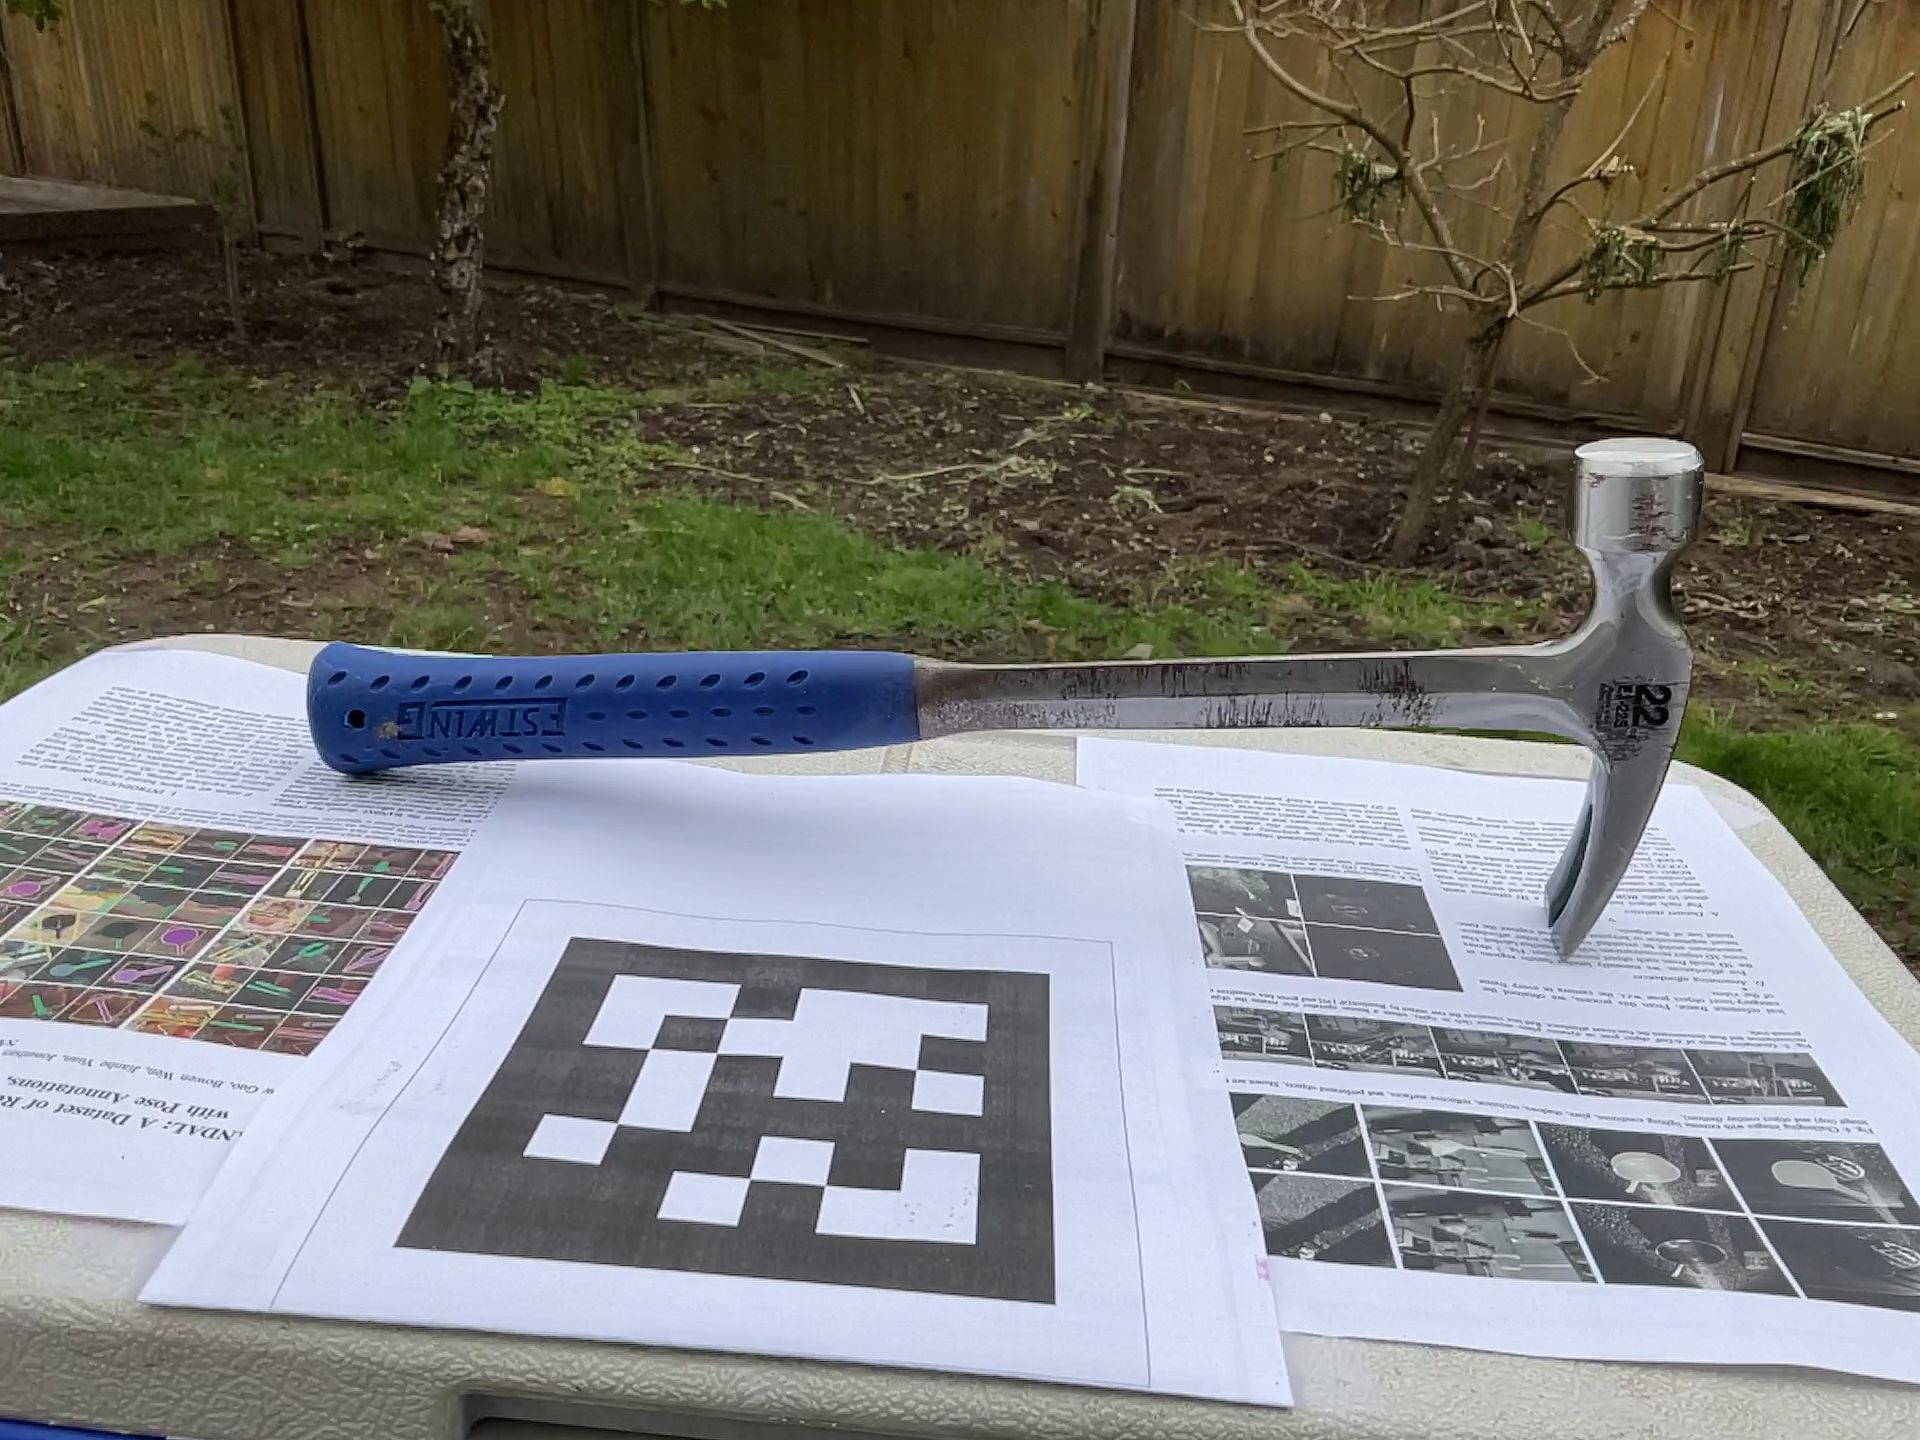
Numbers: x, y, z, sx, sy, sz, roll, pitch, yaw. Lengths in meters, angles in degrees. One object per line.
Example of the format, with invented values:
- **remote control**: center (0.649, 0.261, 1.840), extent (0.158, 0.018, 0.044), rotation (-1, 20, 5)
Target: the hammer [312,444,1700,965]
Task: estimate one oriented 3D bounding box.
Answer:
- **hammer**: center (0.000, 0.000, 0.479), extent (0.405, 0.144, 0.035), rotation (-1, 21, 11)
